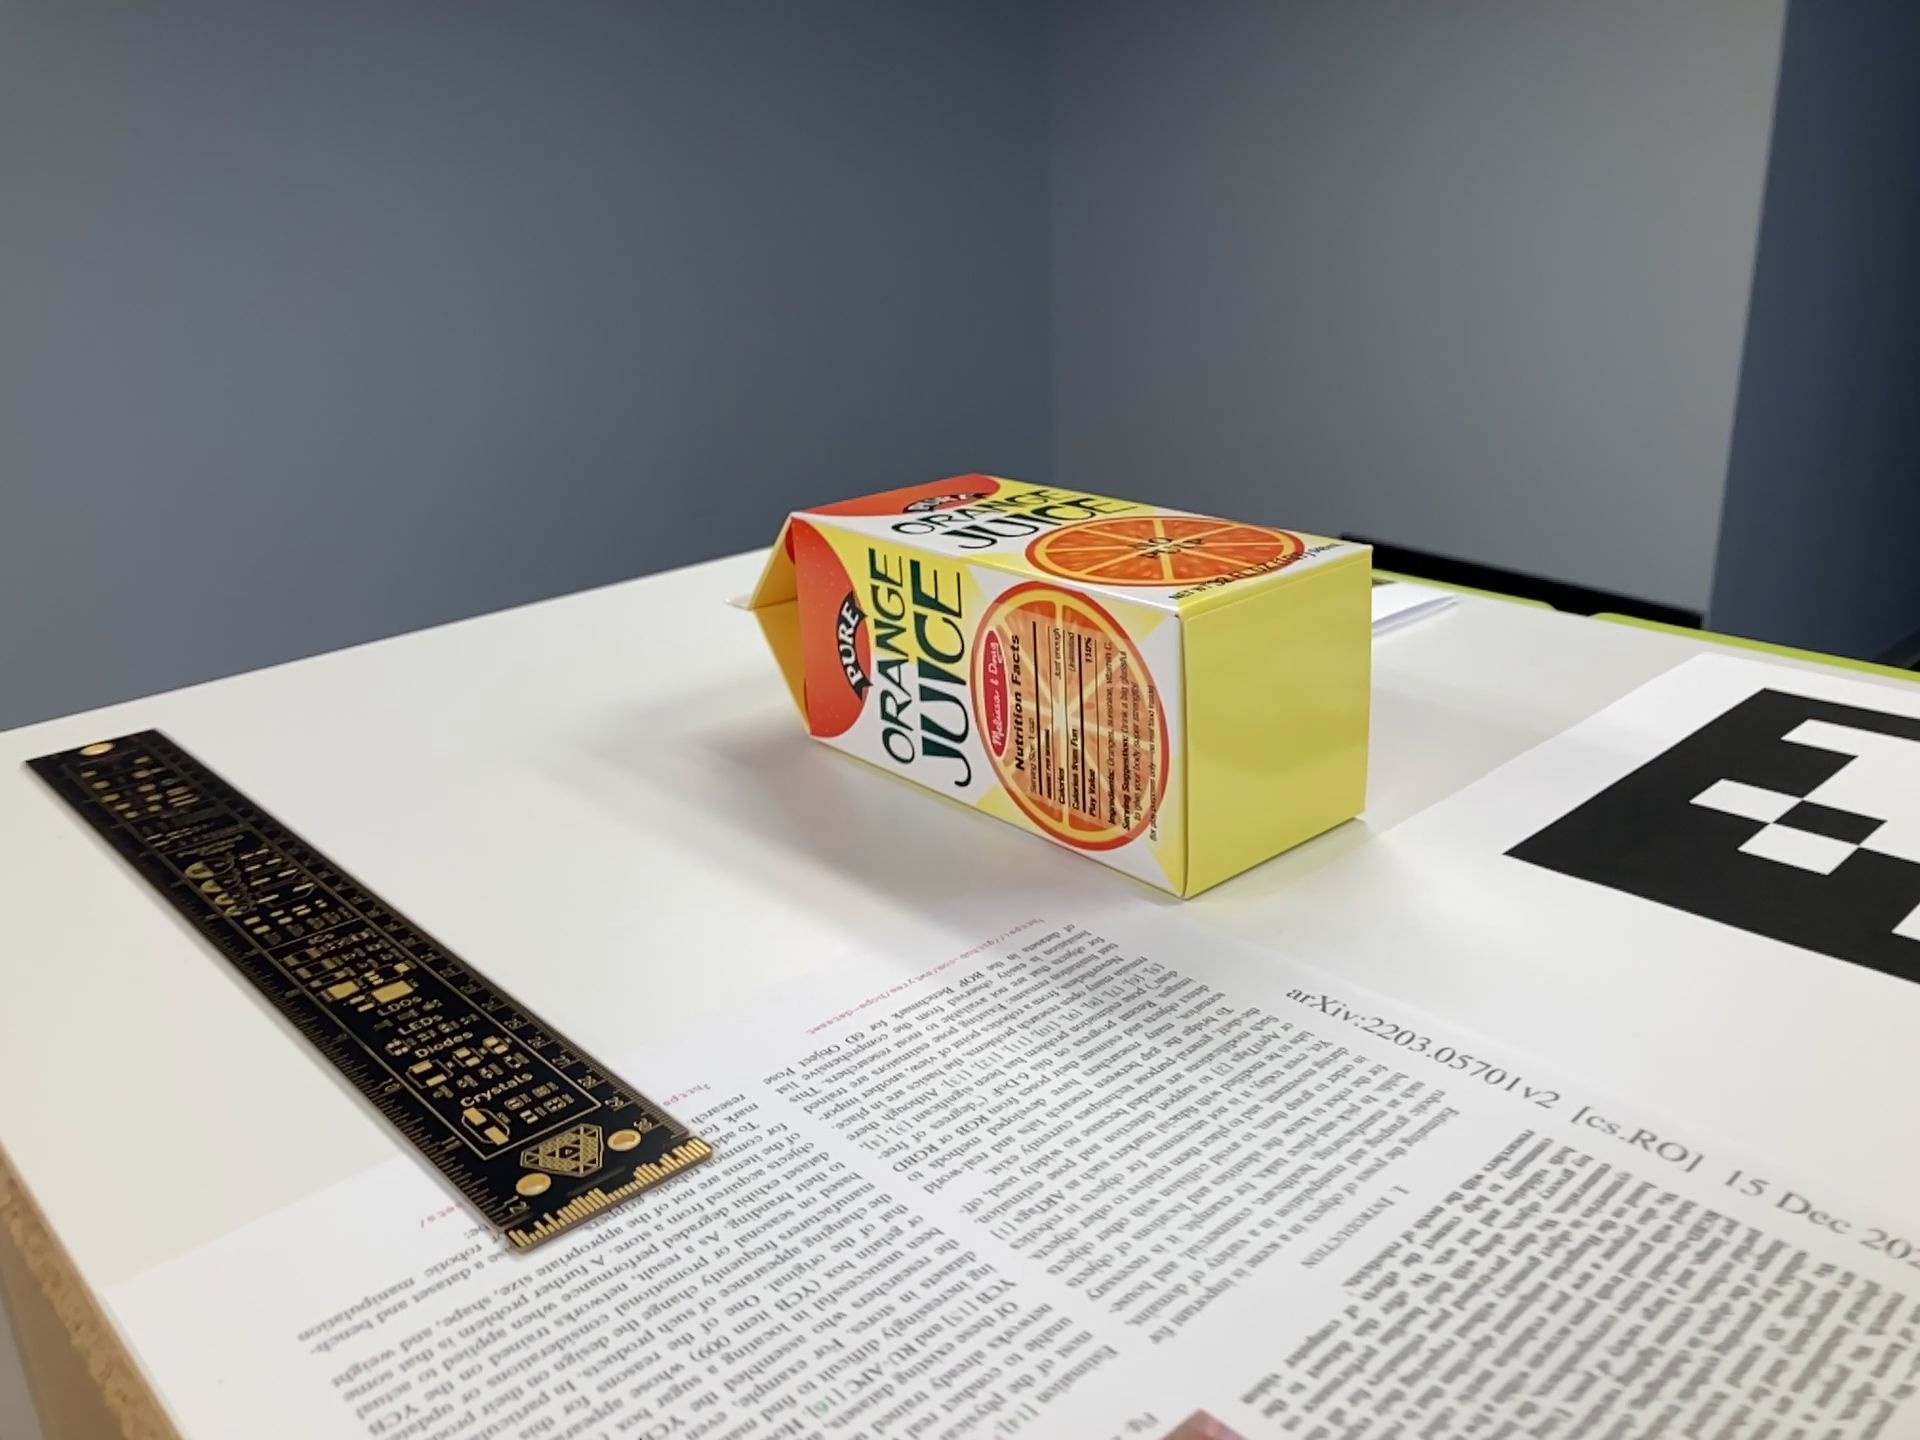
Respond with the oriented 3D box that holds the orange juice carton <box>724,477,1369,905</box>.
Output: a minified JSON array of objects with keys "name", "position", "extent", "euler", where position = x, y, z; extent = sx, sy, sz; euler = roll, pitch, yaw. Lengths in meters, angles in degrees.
[{"name":"orange juice carton","position":[0.014,-0.021,0.448],"extent":[0.072,0.073,0.192],"euler":[-19,26,-37]}]
